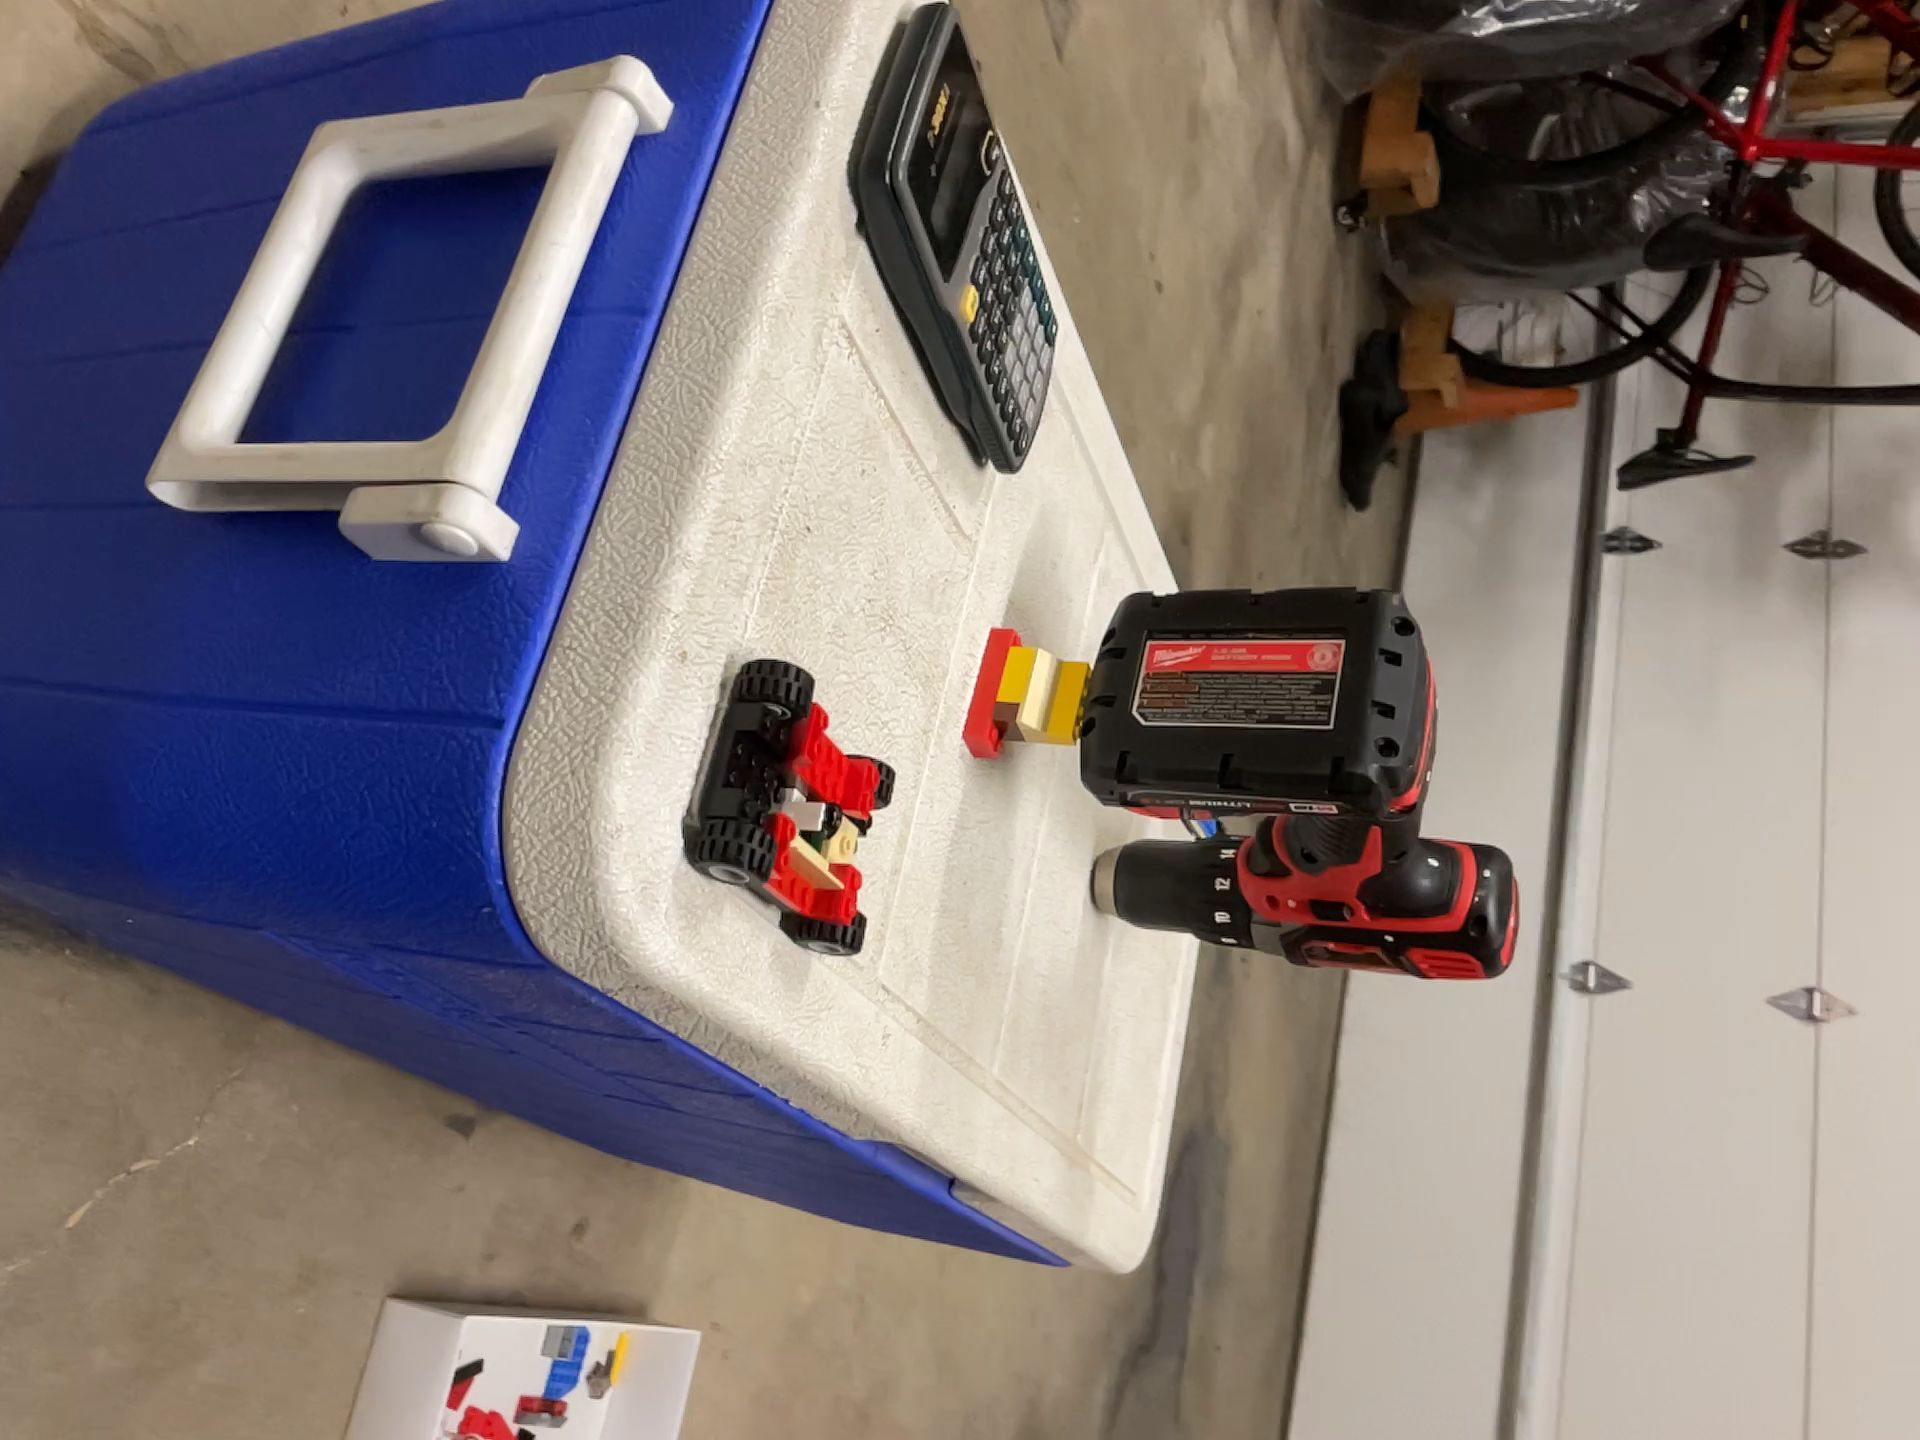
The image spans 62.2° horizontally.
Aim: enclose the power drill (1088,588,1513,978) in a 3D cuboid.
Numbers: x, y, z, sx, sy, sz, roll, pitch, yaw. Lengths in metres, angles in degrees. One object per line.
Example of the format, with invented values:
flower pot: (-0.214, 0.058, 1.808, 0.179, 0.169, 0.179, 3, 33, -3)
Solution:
power drill: (0.122, 0.042, 0.664, 0.226, 0.188, 0.080, 53, 44, -51)
